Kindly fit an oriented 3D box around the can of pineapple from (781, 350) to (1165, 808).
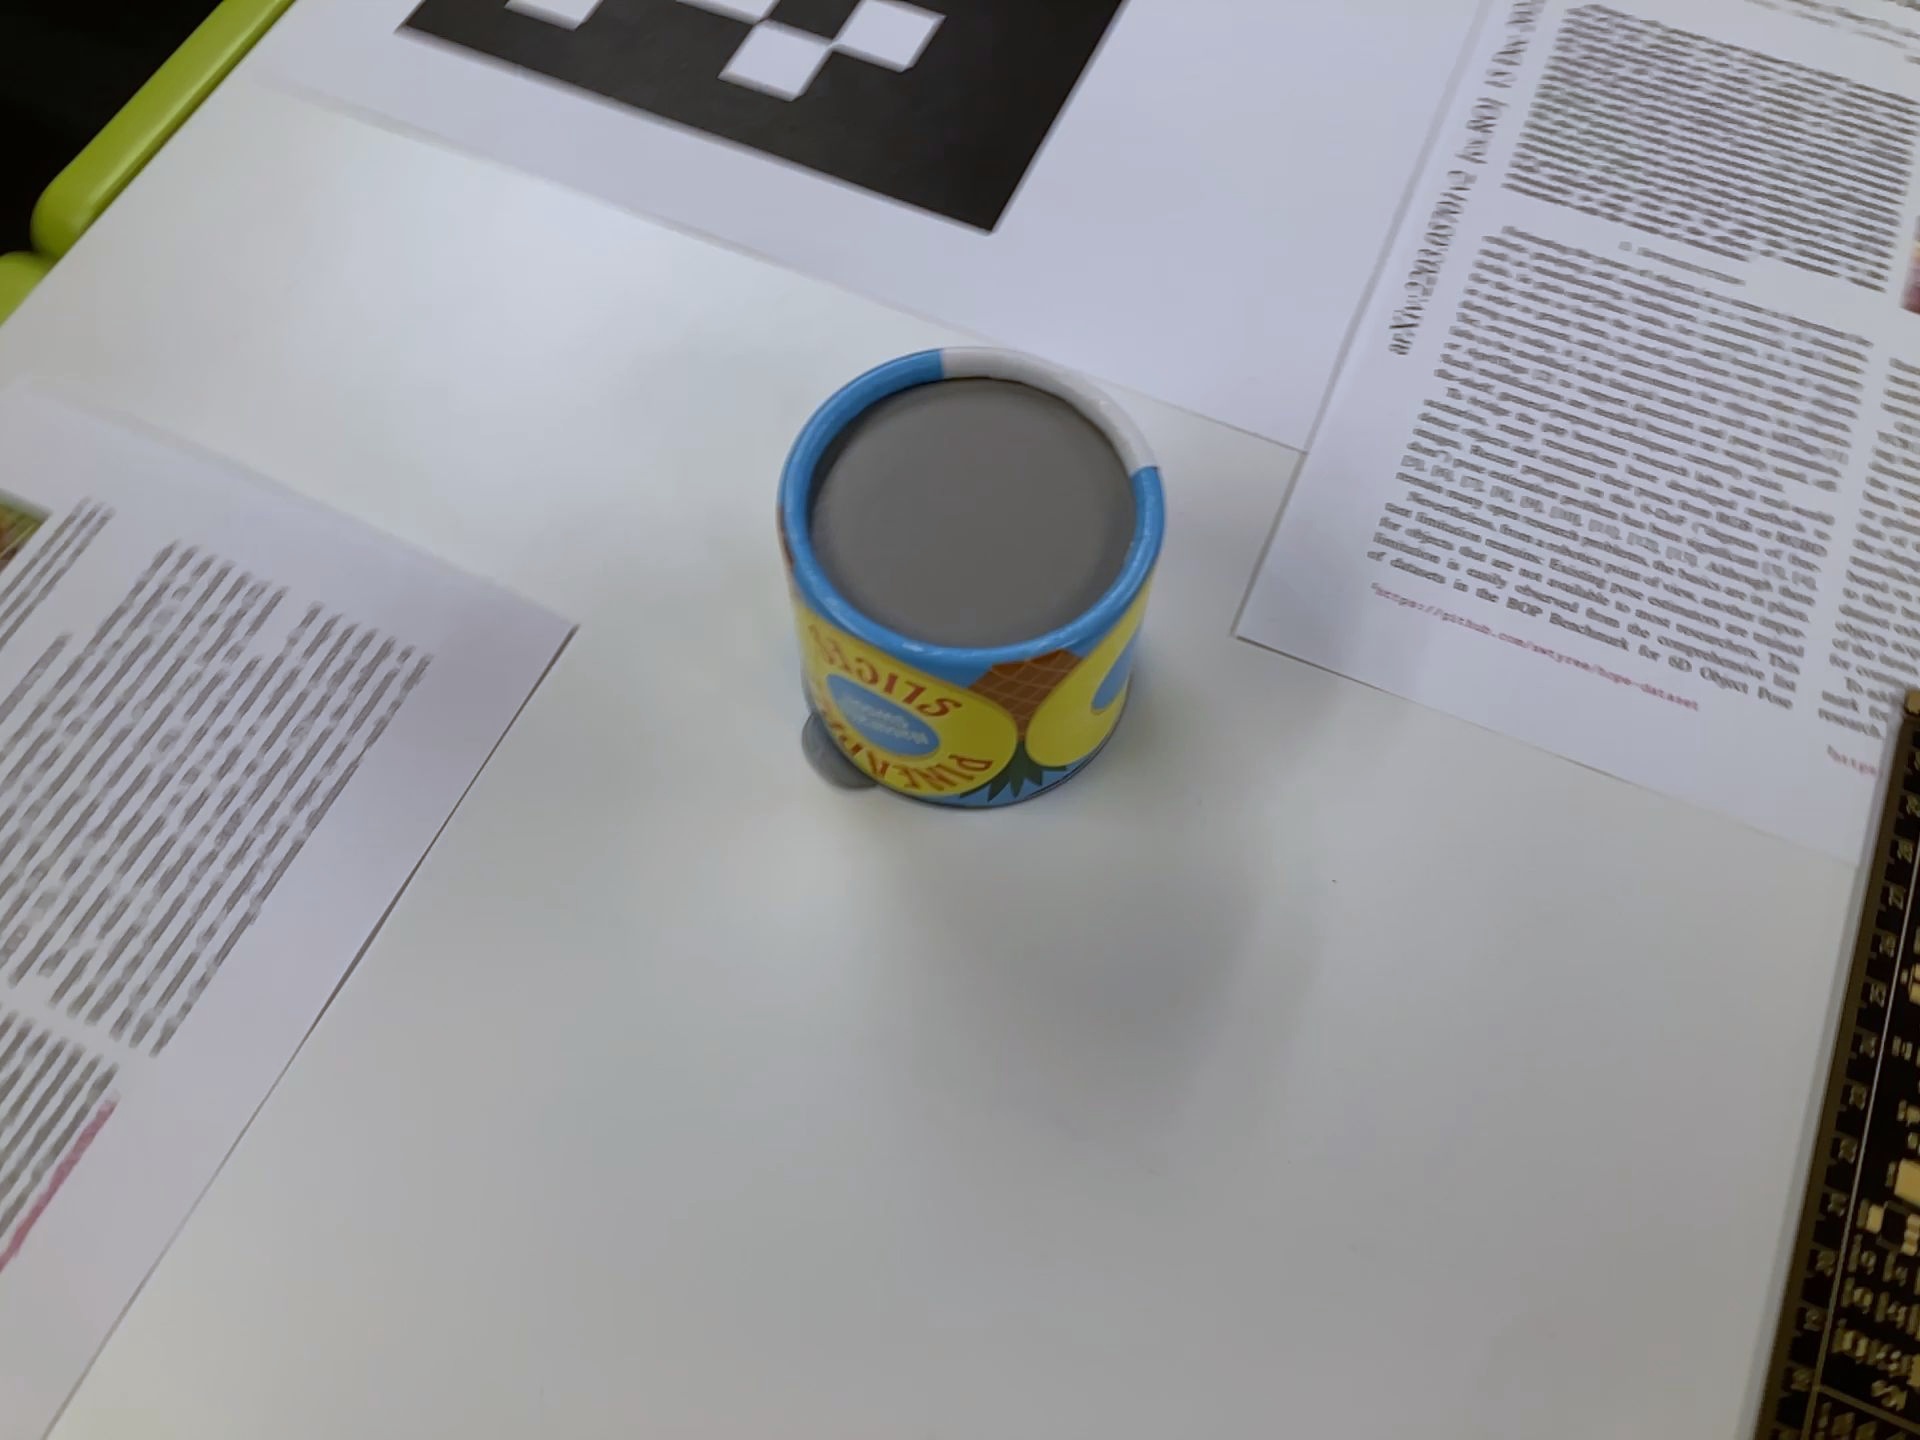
[{"bbox_3d":[0.001,-0.023,0.292,0.071,0.058,0.071,0,64,0],"label":"can of pineapple"}]
